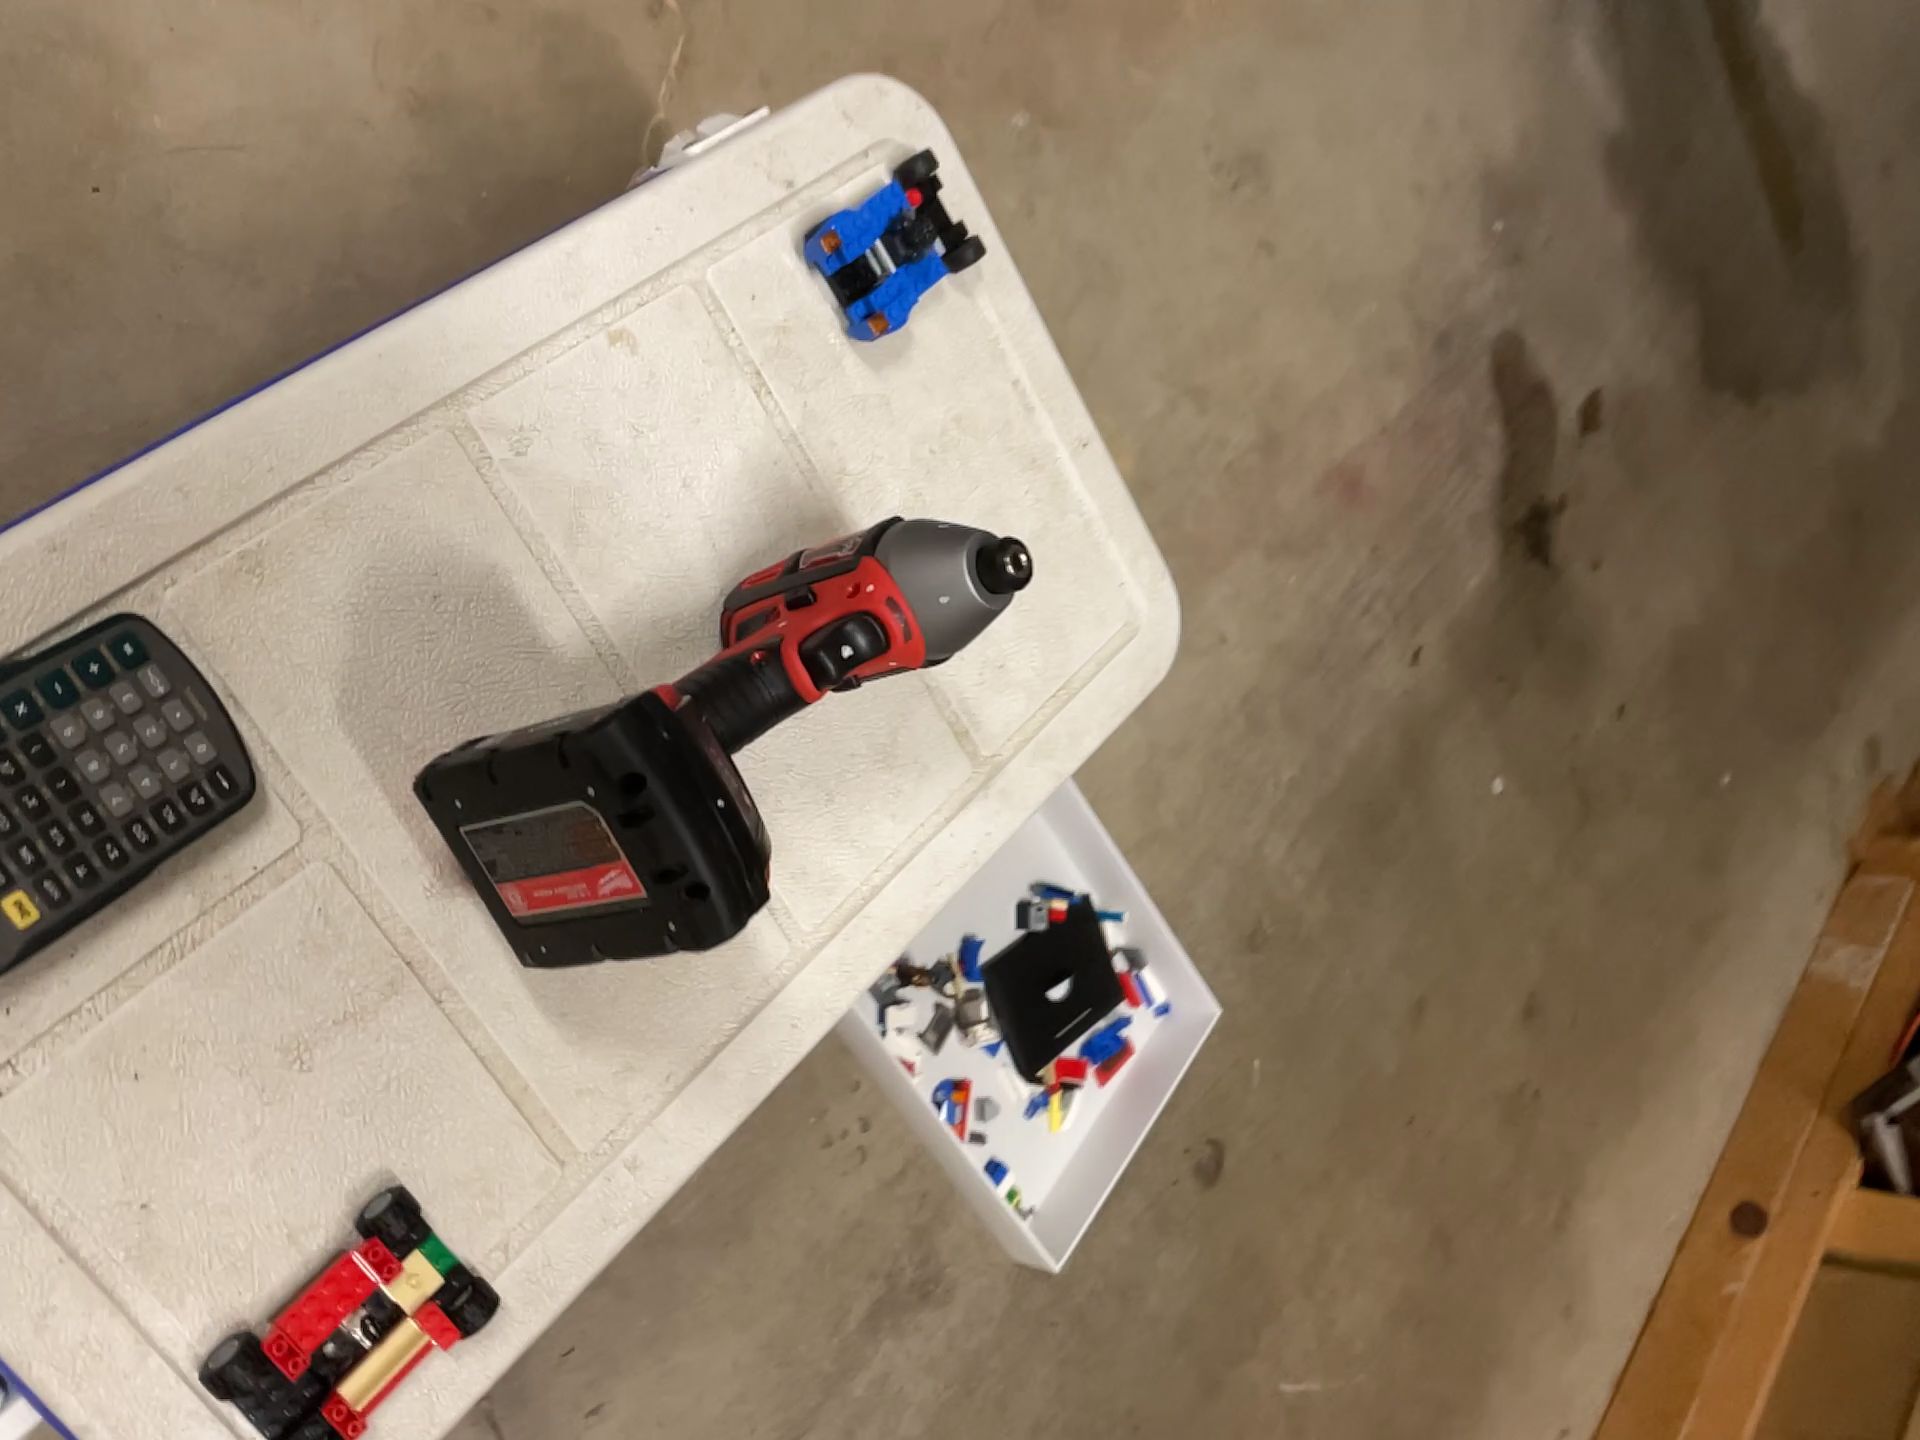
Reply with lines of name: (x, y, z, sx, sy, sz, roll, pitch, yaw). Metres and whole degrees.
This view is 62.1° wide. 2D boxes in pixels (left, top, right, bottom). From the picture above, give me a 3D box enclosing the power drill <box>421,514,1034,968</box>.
power drill: (-0.070, -0.009, 0.580, 0.220, 0.143, 0.078, -45, 115, -47)
